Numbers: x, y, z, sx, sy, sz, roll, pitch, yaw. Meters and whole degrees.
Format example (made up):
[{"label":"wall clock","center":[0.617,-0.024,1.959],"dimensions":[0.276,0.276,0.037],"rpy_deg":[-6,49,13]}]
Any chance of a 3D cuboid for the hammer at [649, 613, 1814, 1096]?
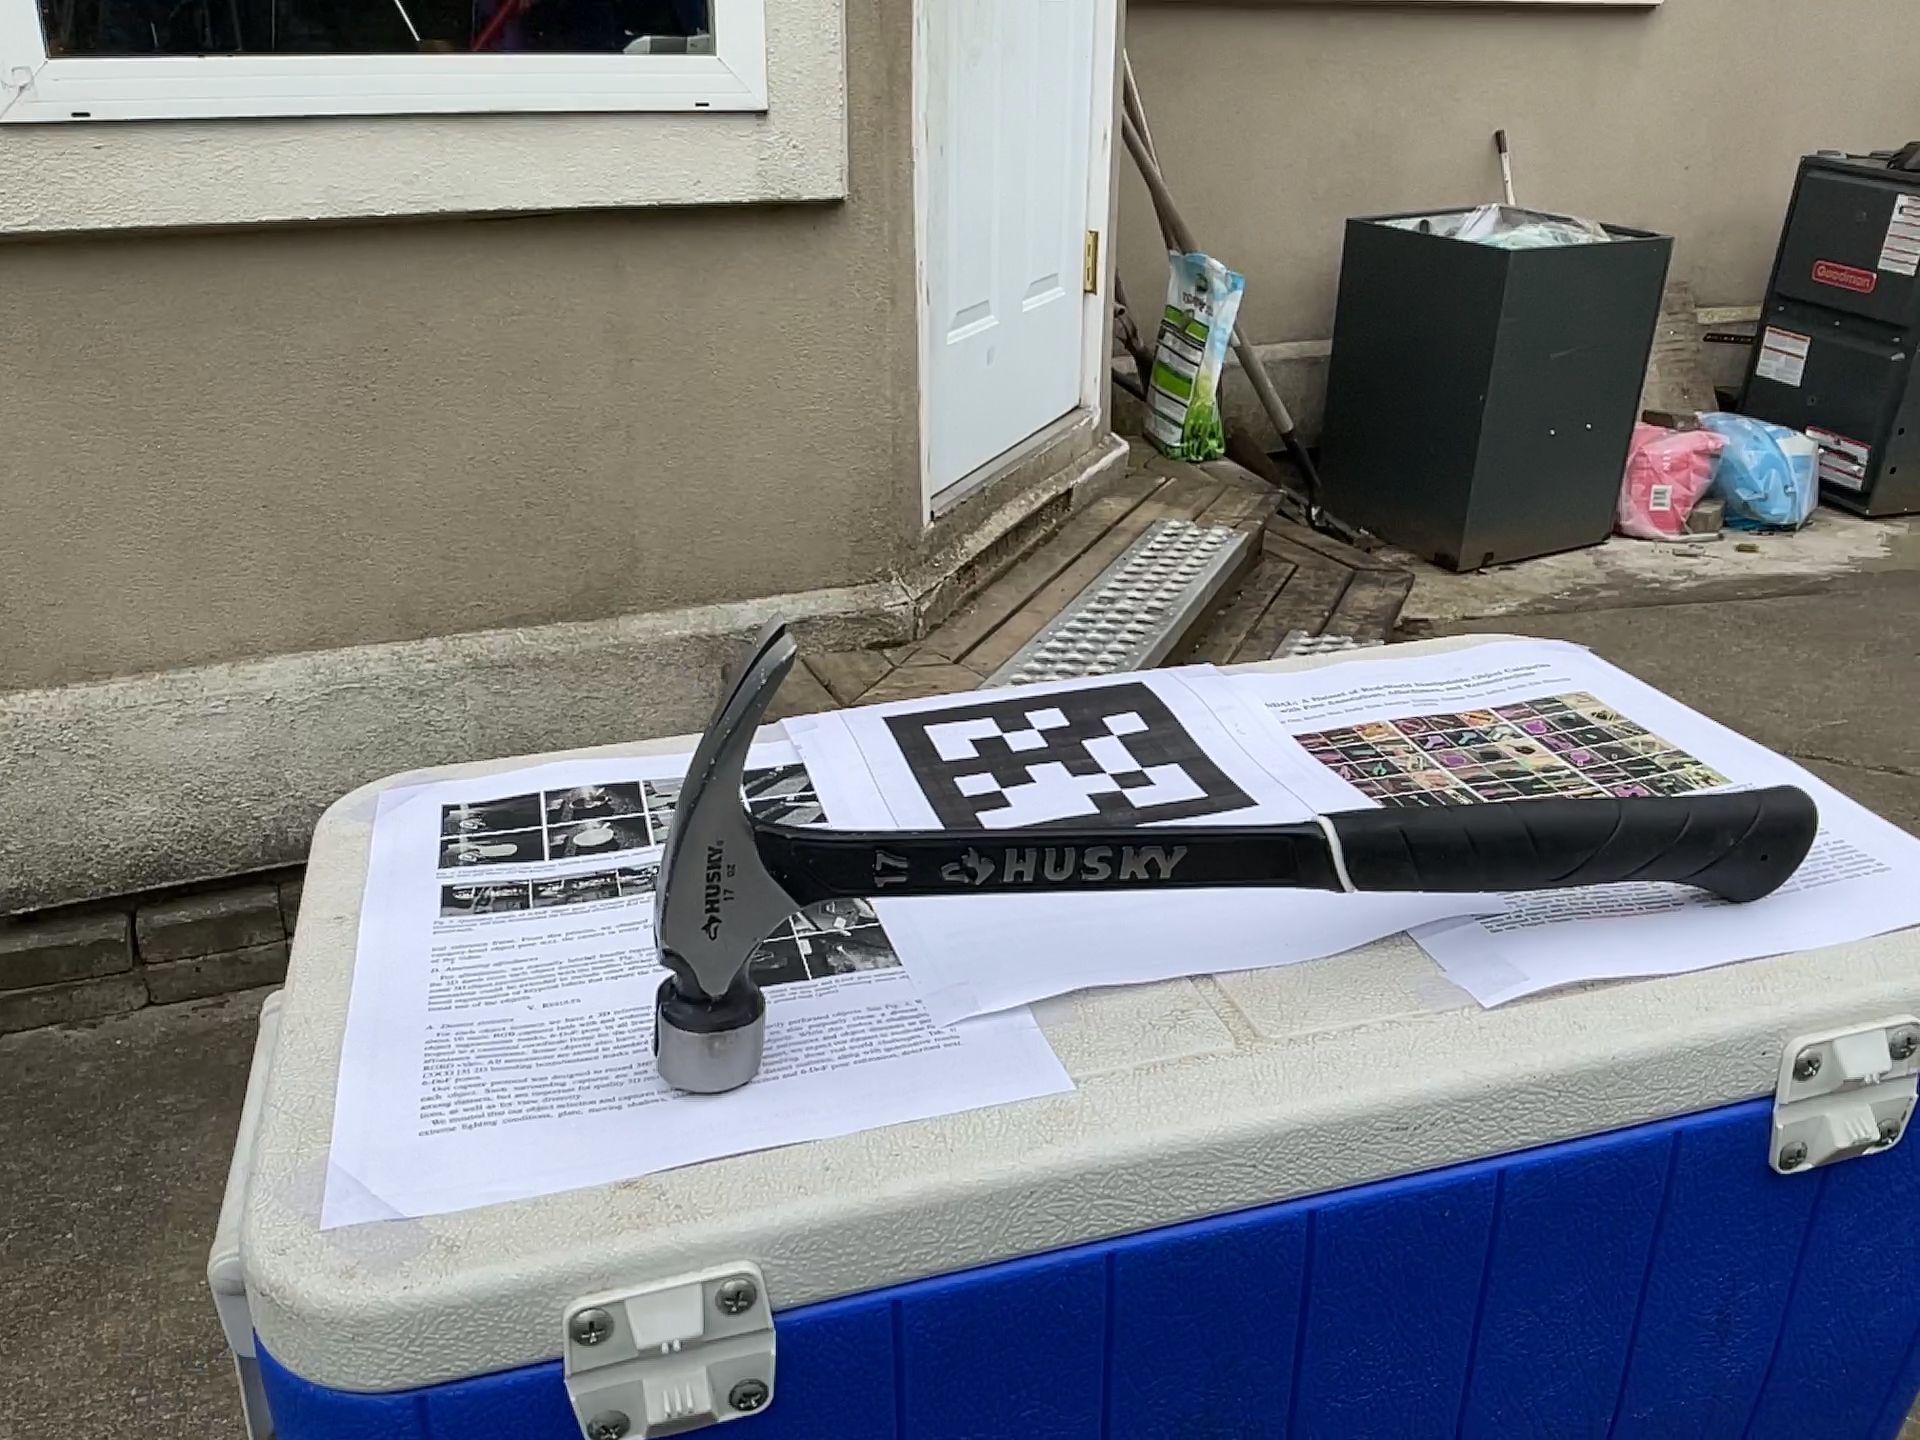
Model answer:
[{"label":"hammer","center":[0.106,0.040,0.526],"dimensions":[0.408,0.149,0.036],"rpy_deg":[-1,24,-16]}]
